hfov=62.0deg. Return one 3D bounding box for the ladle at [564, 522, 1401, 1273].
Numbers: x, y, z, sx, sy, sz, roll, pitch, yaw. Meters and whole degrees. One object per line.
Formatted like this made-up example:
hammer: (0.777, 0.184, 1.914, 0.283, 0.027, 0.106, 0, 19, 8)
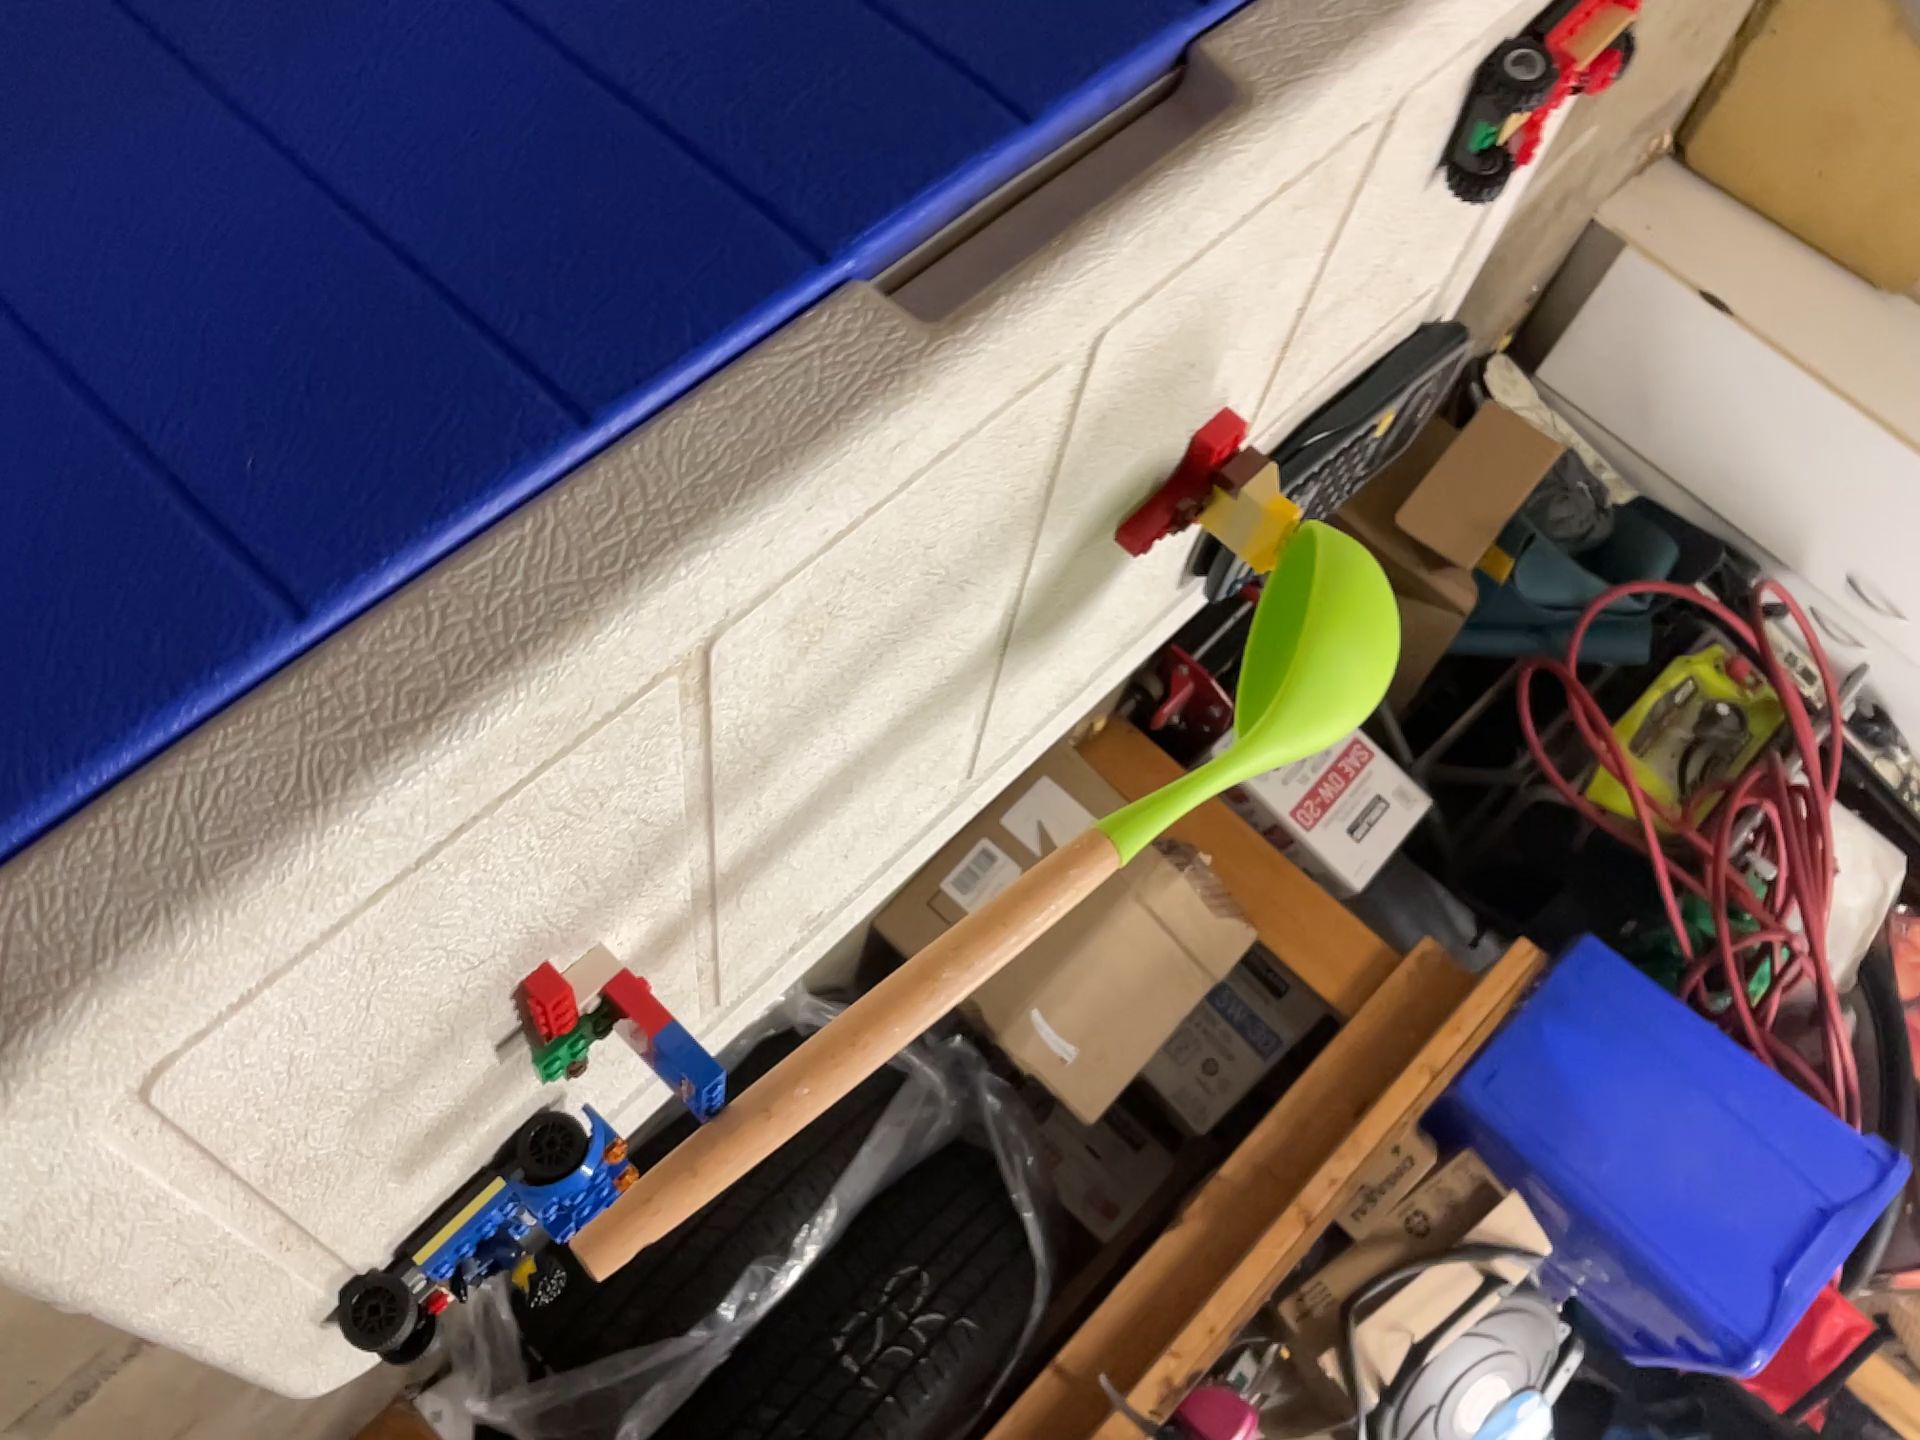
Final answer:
ladle: (0.016, 0.043, 0.471, 0.320, 0.062, 0.078, -35, 168, -22)
